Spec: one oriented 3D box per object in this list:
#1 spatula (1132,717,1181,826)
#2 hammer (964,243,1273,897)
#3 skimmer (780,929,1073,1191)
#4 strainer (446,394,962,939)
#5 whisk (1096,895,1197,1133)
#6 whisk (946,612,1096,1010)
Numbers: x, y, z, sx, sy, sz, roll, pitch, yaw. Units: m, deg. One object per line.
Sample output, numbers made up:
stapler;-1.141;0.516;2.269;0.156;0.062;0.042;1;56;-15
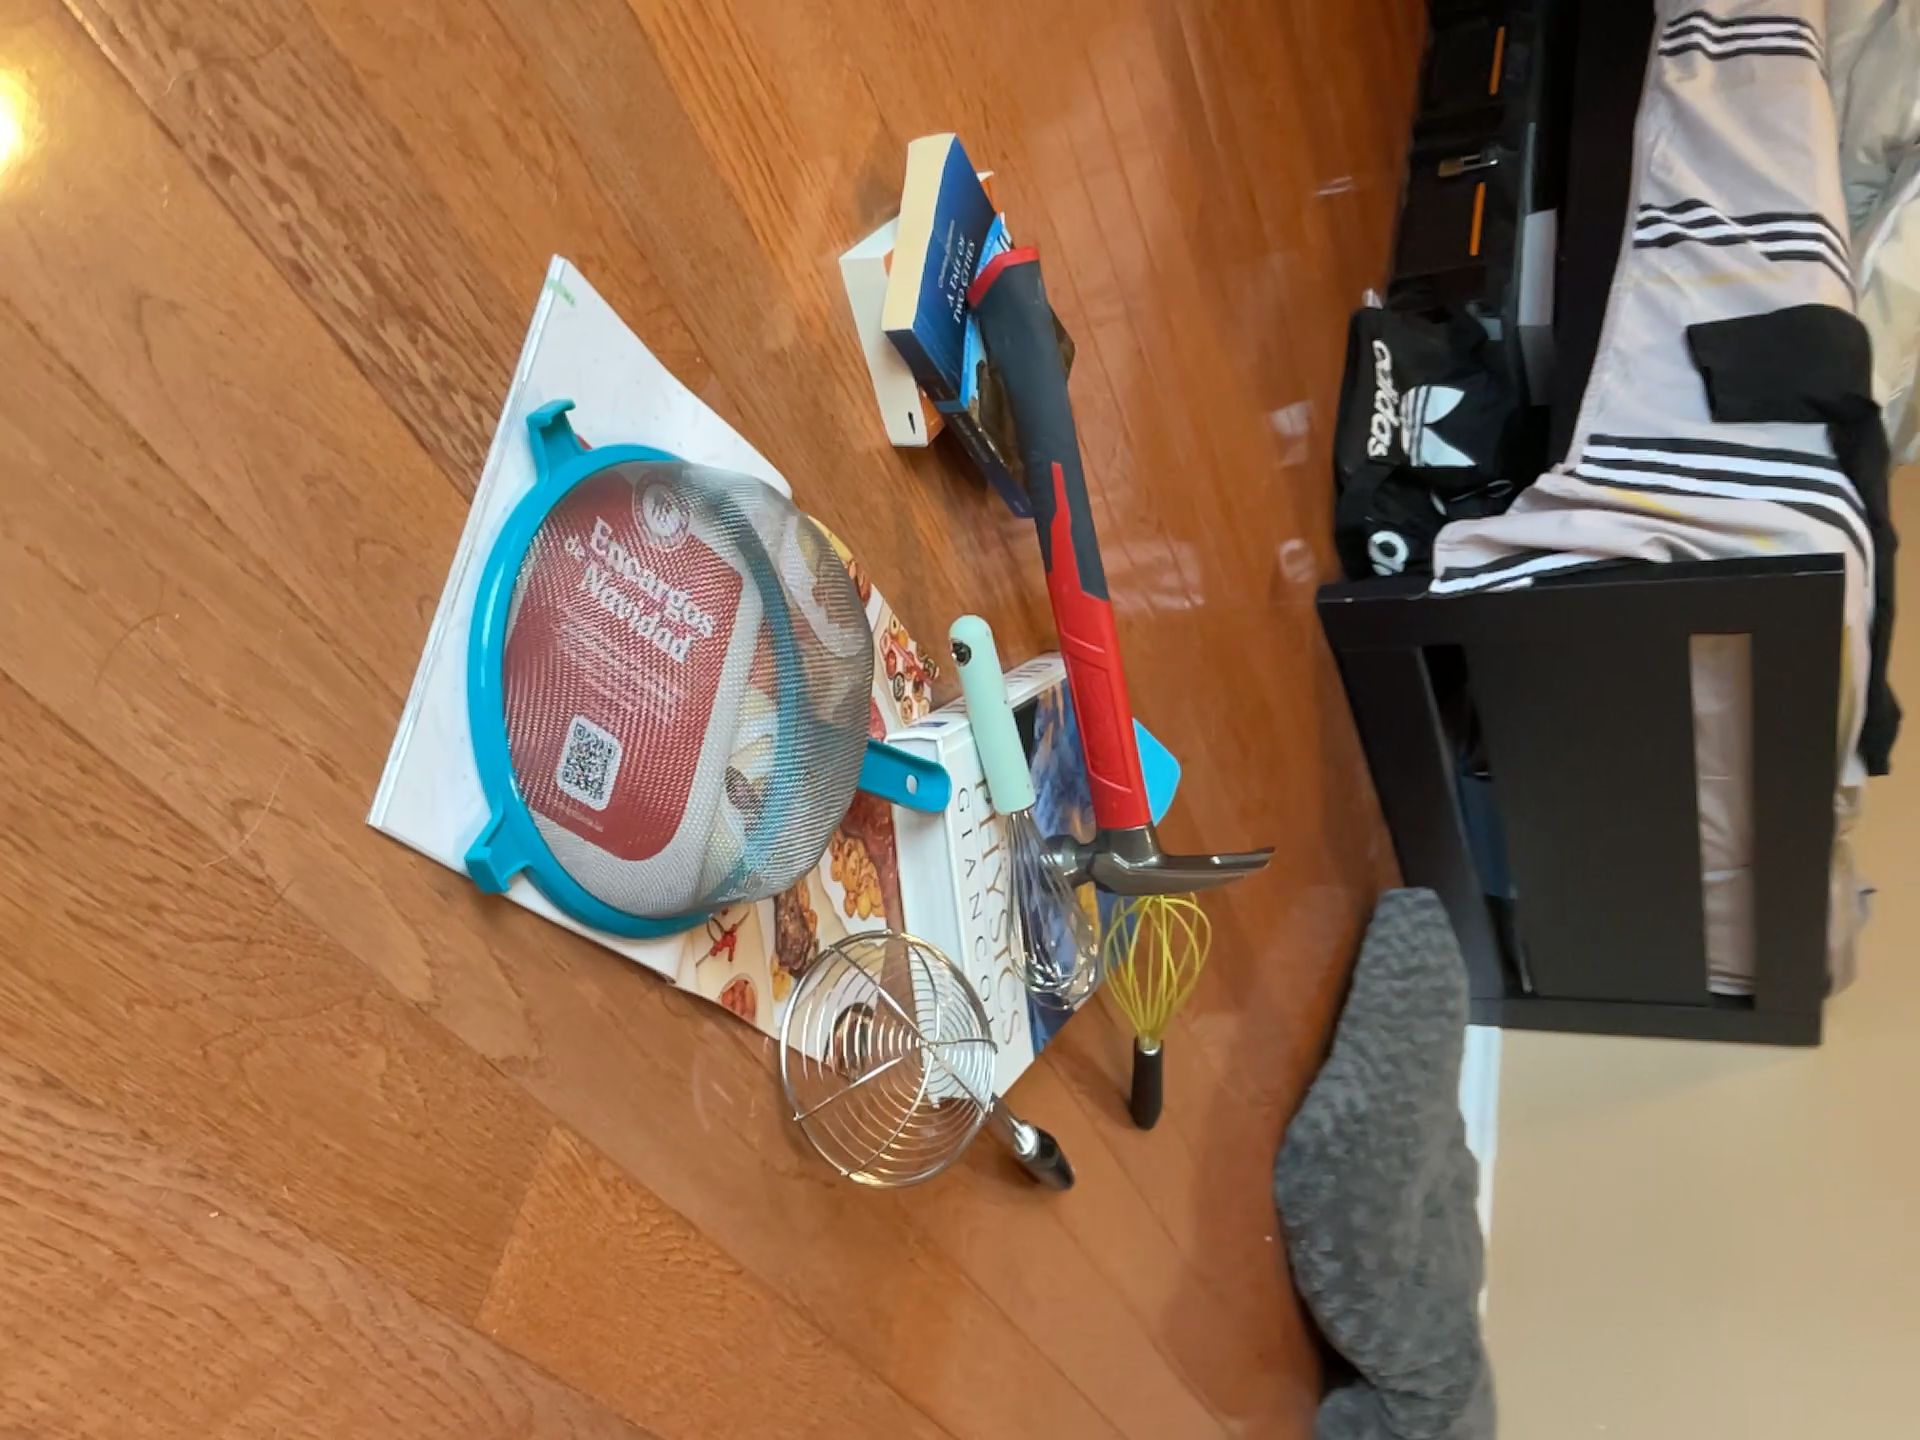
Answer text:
spatula;0.085;-0.081;1.021;0.082;0.044;0.317;-51;133;-51
hammer;0.081;-0.080;0.923;0.038;0.143;0.386;-43;123;-62
skimmer;-0.004;0.226;0.921;0.363;0.090;0.127;63;32;-61
strainer;-0.065;-0.001;0.709;0.340;0.095;0.211;23;67;-55
whisk;0.135;0.217;1.139;0.311;0.067;0.080;82;7;-47
whisk;0.033;0.055;0.913;0.059;0.057;0.246;-25;108;-30
